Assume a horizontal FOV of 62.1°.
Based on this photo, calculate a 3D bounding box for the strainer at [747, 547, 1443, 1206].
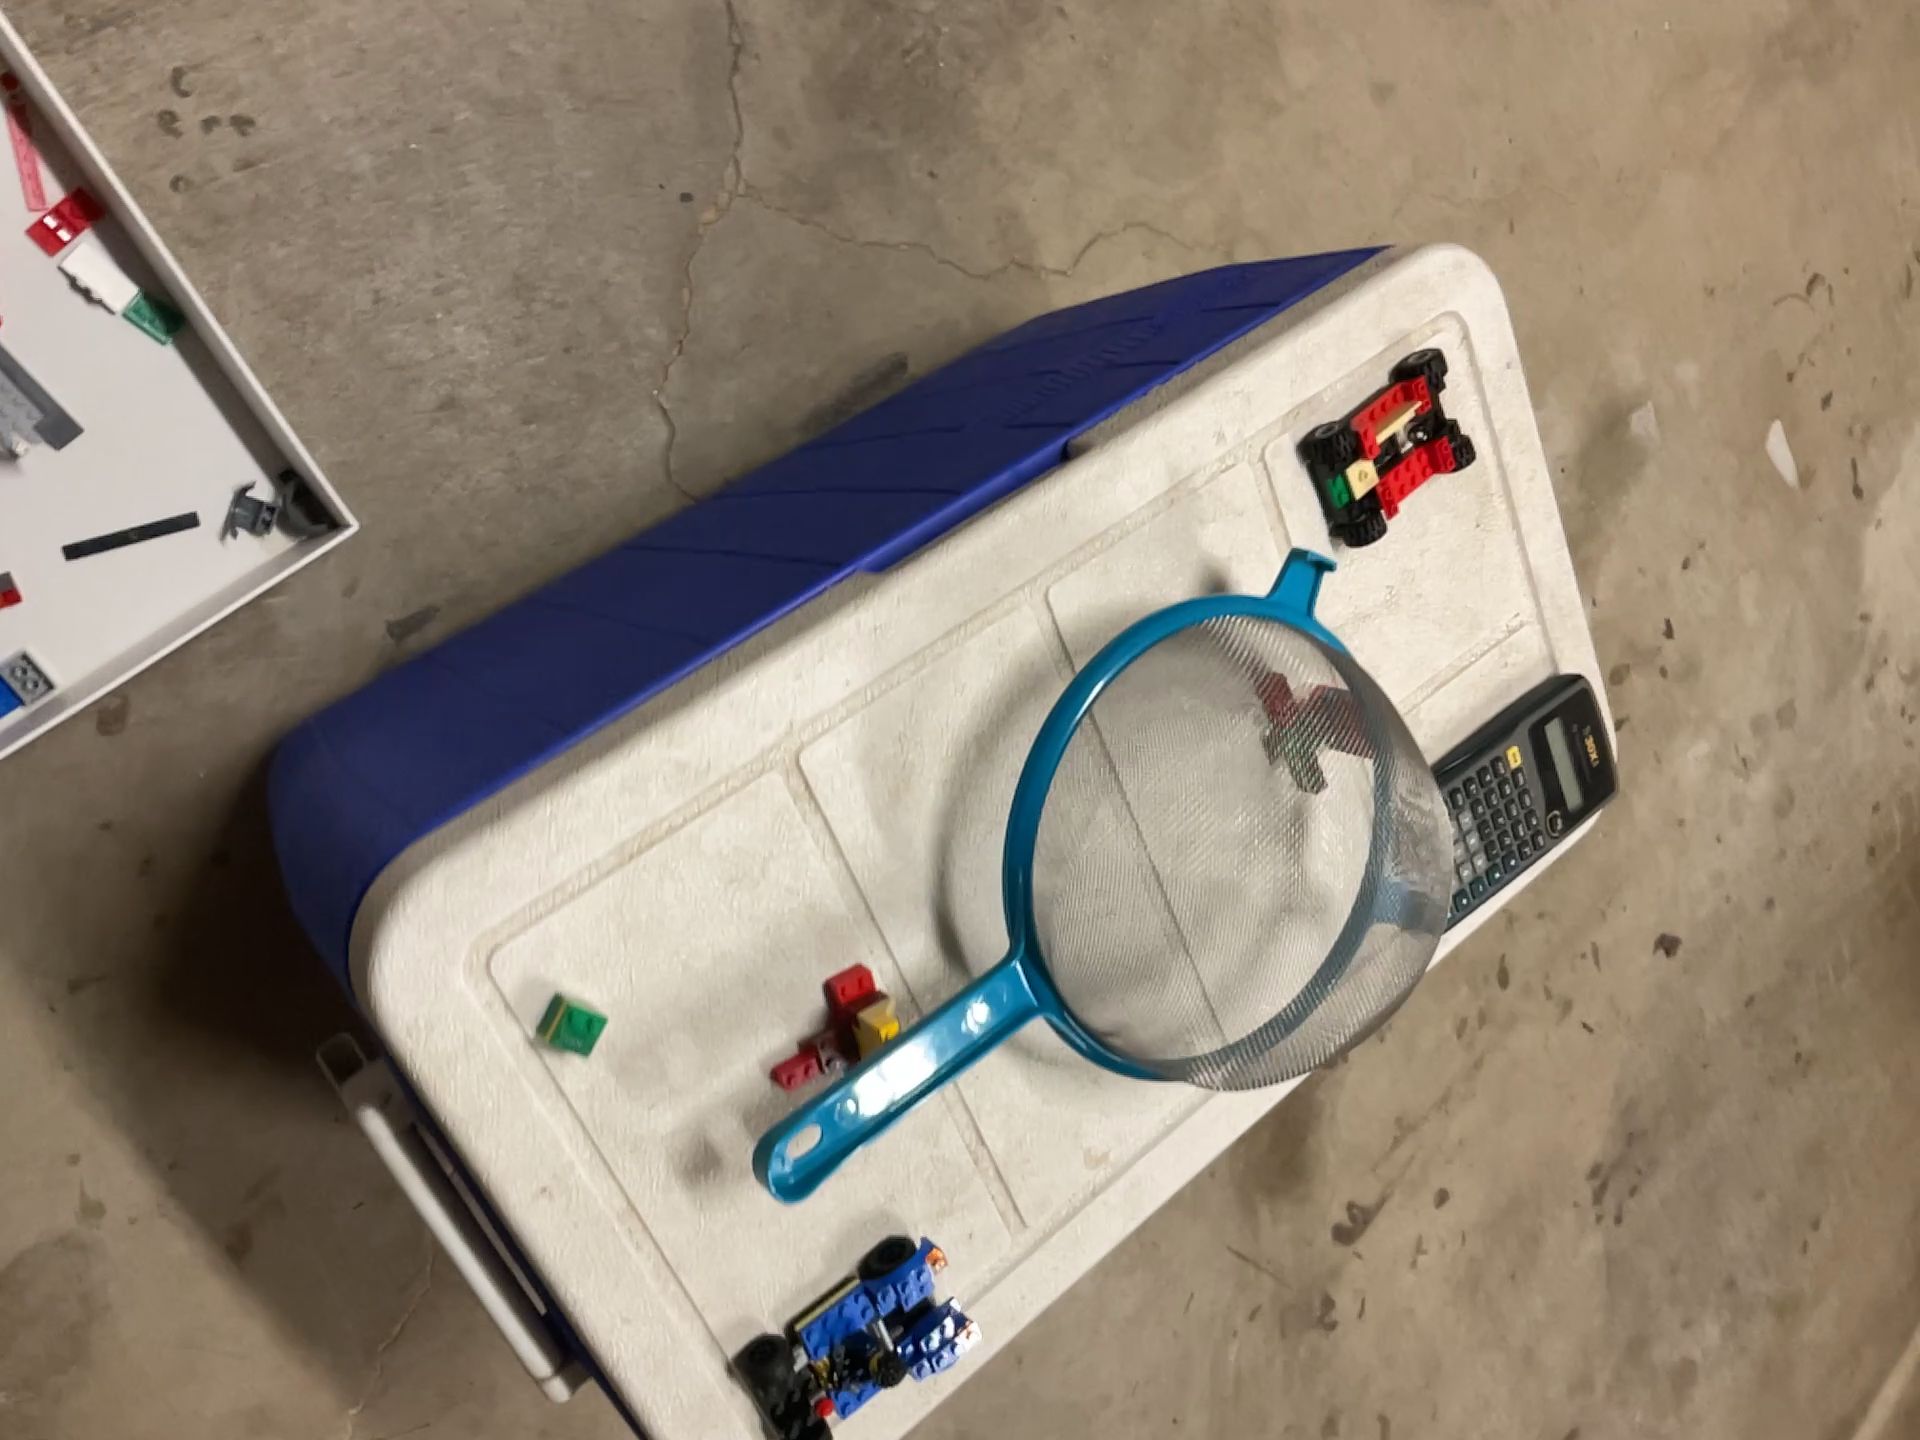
[{"bbox_3d":[0.076,0.089,0.616,0.340,0.095,0.211,-33,114,-24],"label":"strainer"}]
